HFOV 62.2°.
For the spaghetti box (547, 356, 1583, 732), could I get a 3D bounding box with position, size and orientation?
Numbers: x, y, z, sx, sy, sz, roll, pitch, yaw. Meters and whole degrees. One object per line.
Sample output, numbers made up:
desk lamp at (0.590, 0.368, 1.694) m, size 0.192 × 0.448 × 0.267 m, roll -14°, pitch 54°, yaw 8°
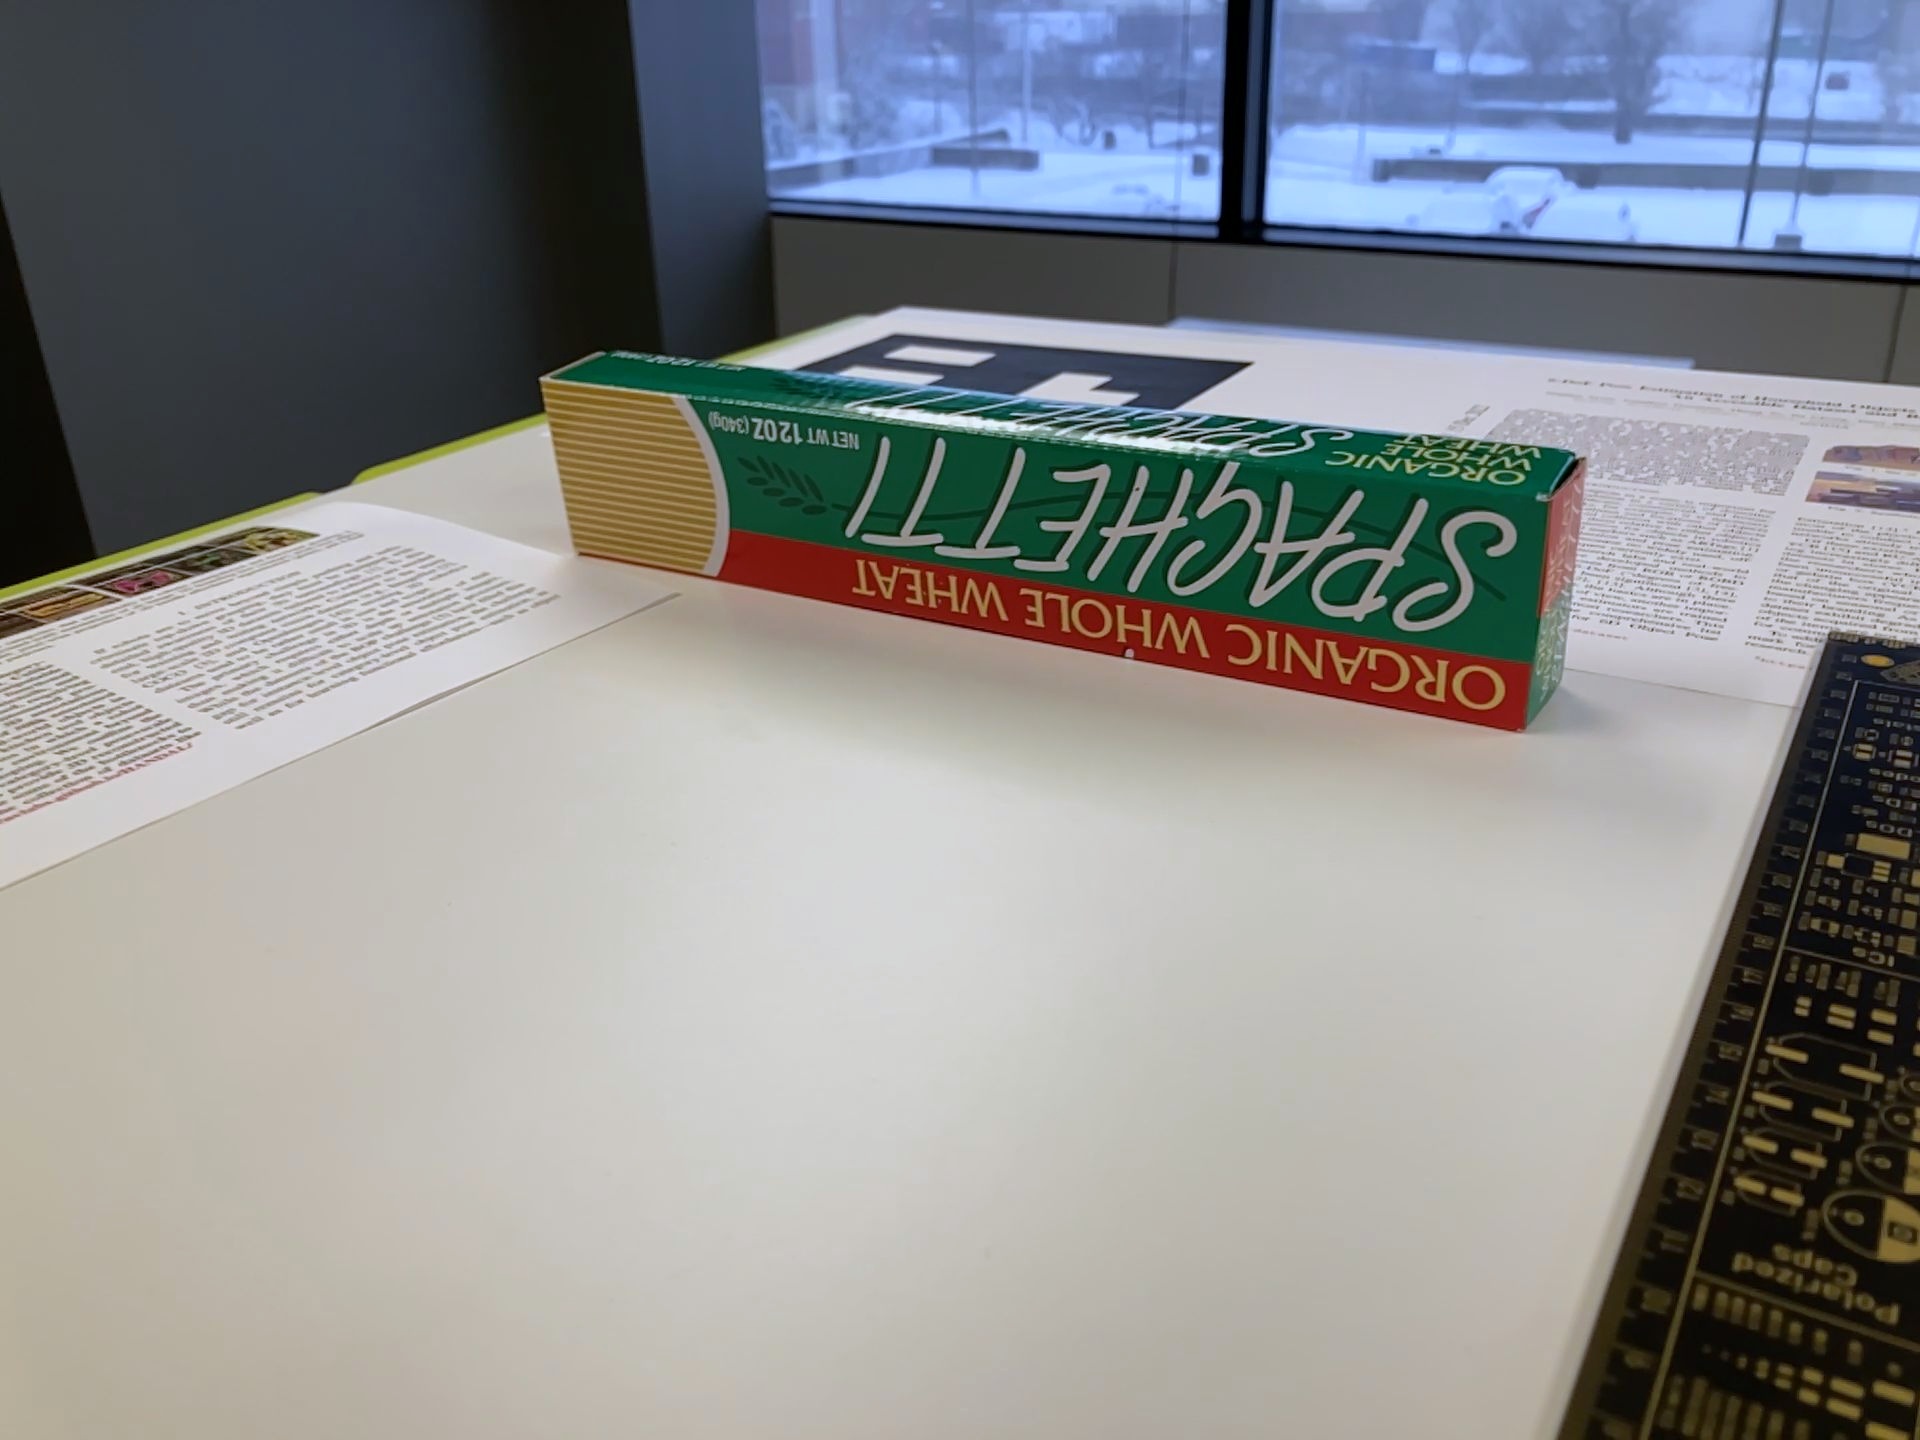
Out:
spaghetti box at (0.009, -0.047, 0.365) m, size 0.250 × 0.050 × 0.028 m, roll 12°, pitch 32°, yaw 28°
